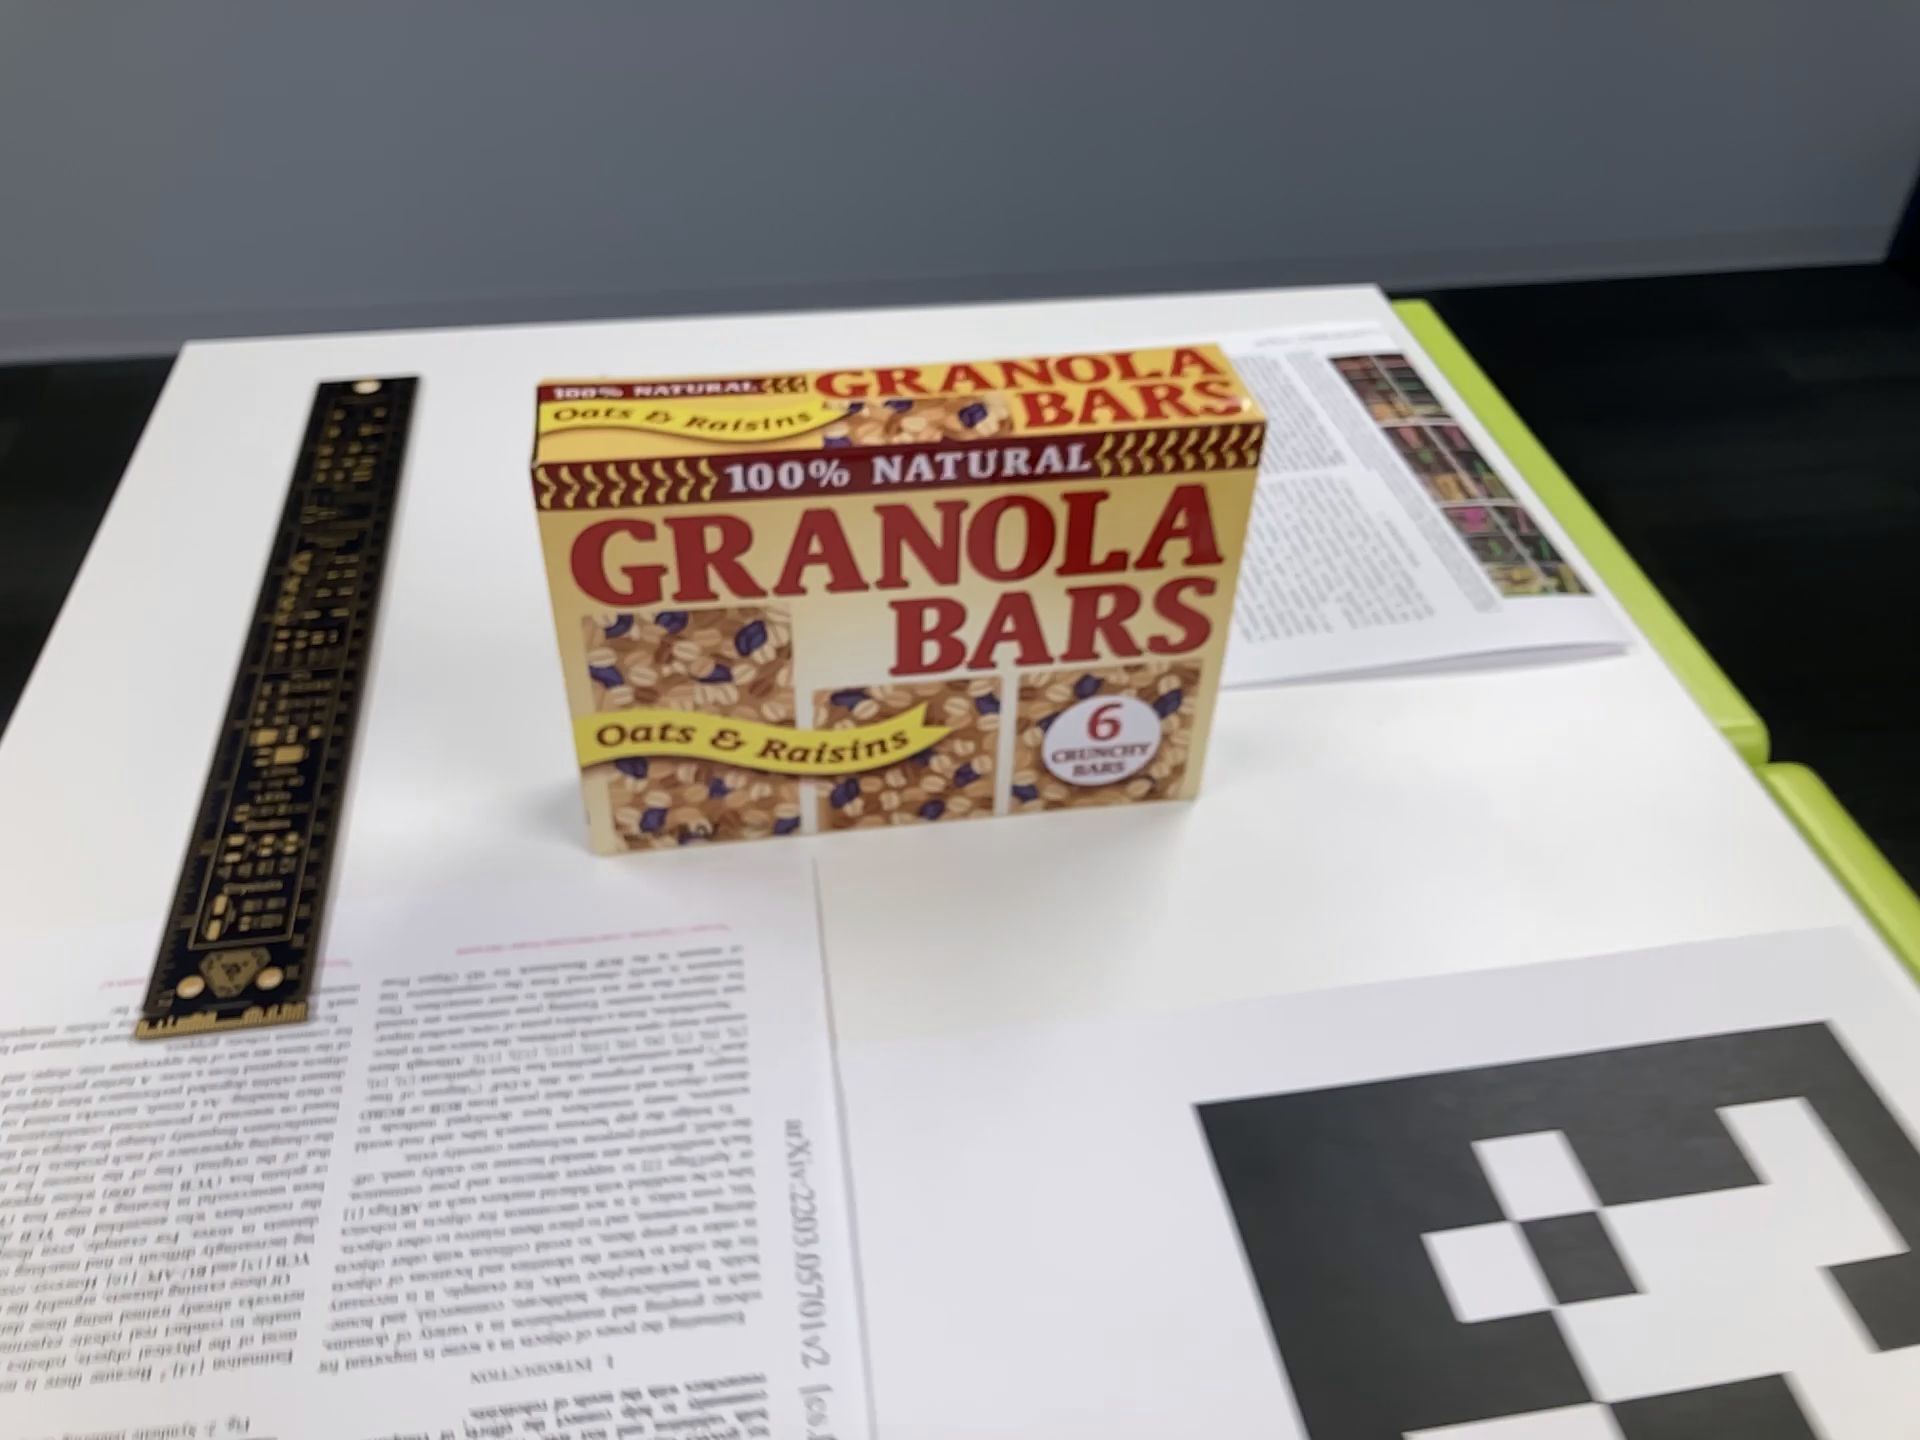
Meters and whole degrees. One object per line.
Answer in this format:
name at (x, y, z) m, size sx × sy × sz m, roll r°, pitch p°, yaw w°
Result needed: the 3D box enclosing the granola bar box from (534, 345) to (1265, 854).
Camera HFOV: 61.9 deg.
granola bar box at (-0.016, -0.029, 0.411) m, size 0.165 × 0.124 × 0.039 m, roll -5°, pitch 42°, yaw -8°
